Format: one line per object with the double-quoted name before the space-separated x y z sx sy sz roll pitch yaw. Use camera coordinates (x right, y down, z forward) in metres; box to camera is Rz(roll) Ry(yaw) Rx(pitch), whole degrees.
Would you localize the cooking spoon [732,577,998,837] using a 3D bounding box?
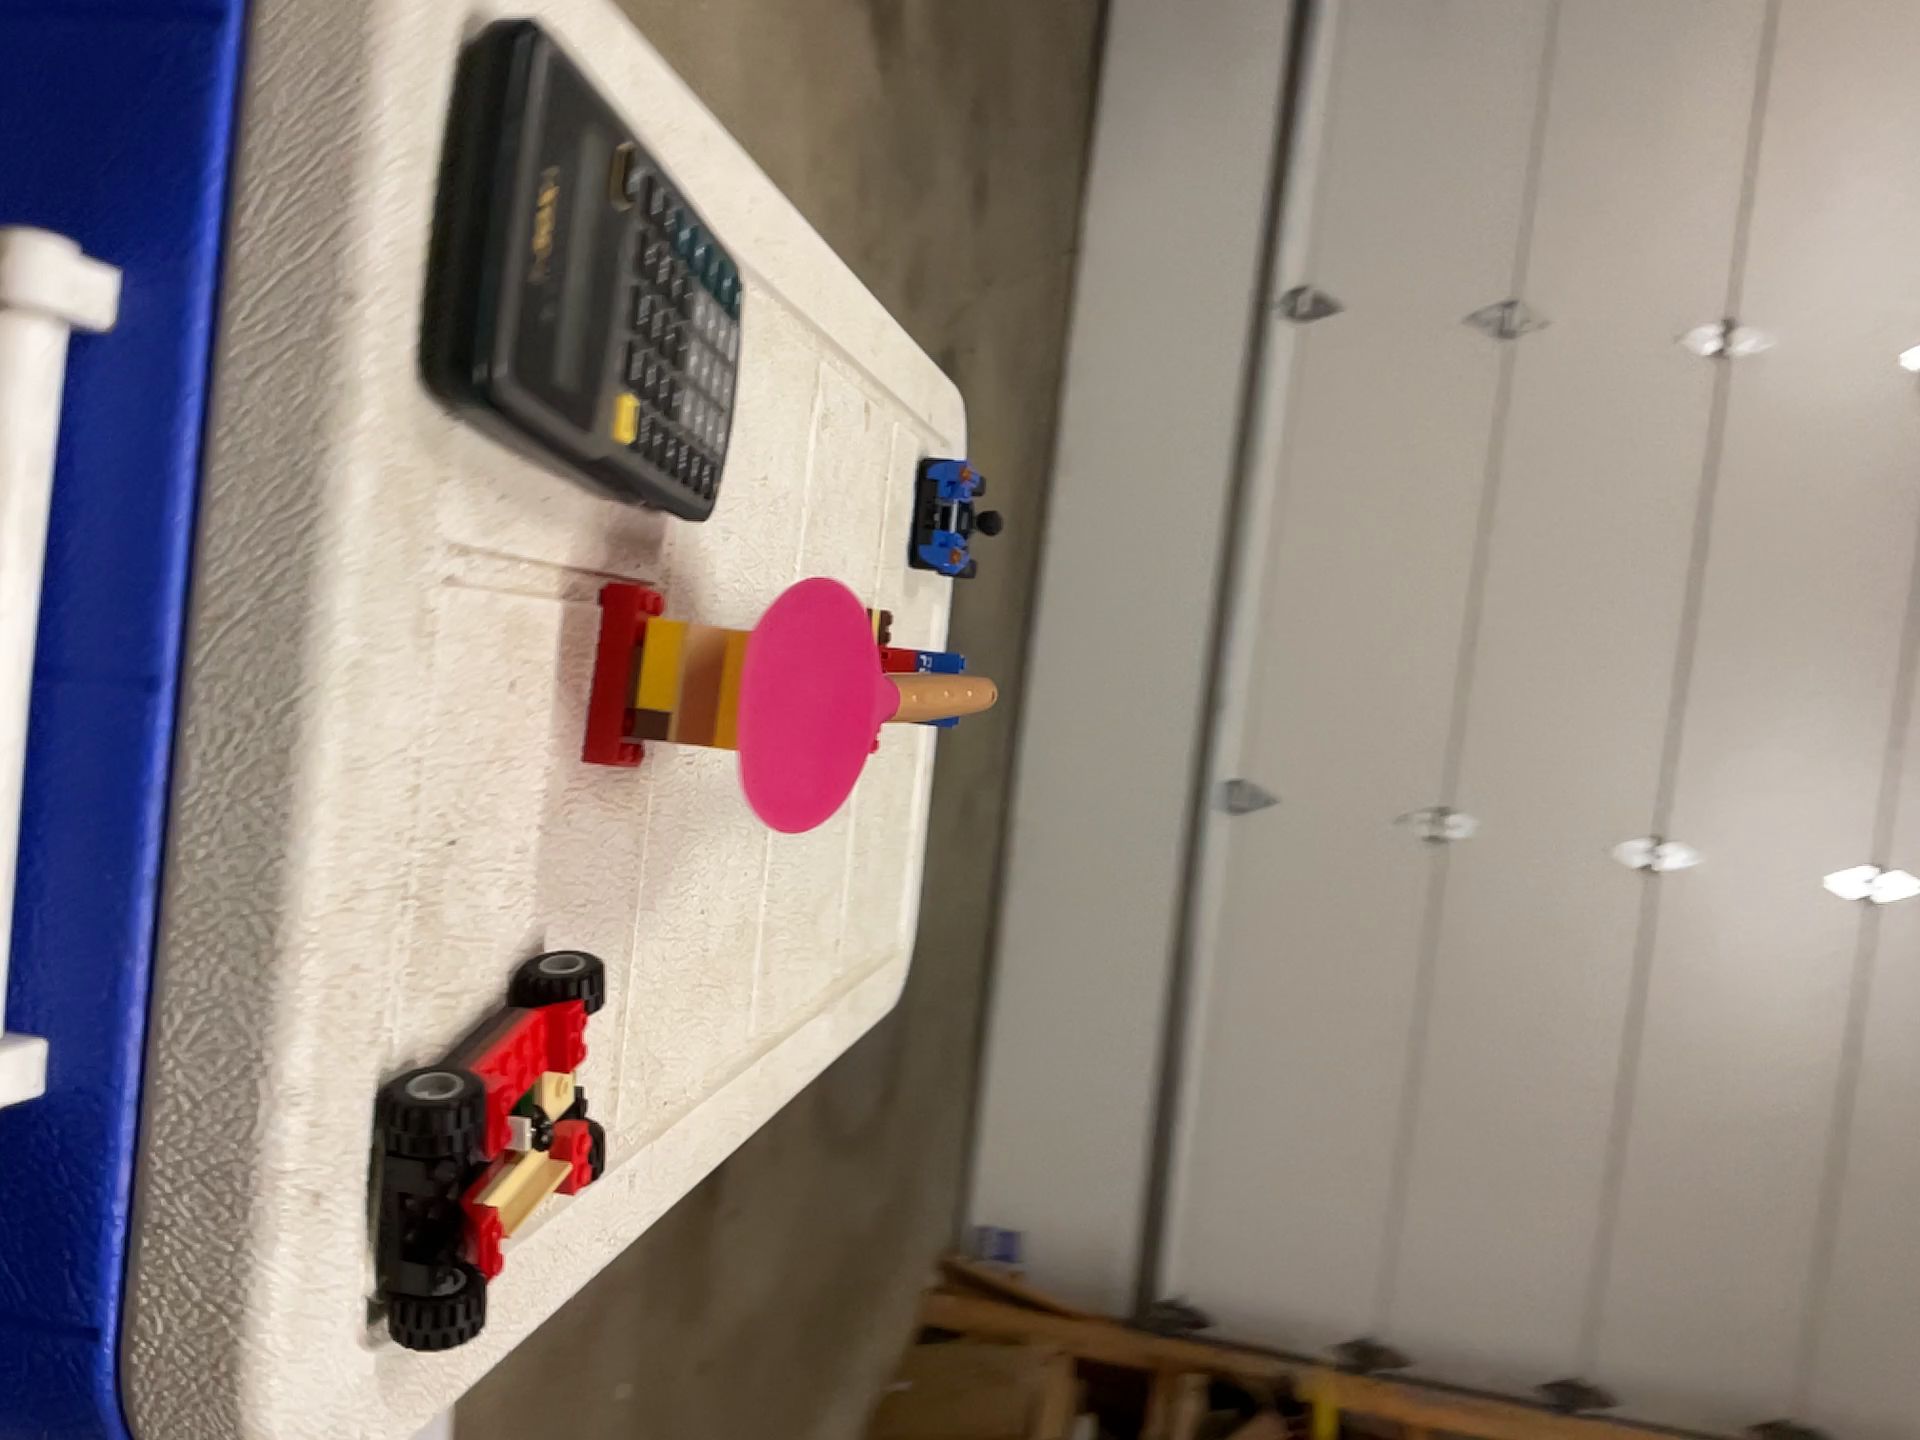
"cooking spoon" -0.022 -0.007 0.532 0.319 0.017 0.068 -6 103 -78
